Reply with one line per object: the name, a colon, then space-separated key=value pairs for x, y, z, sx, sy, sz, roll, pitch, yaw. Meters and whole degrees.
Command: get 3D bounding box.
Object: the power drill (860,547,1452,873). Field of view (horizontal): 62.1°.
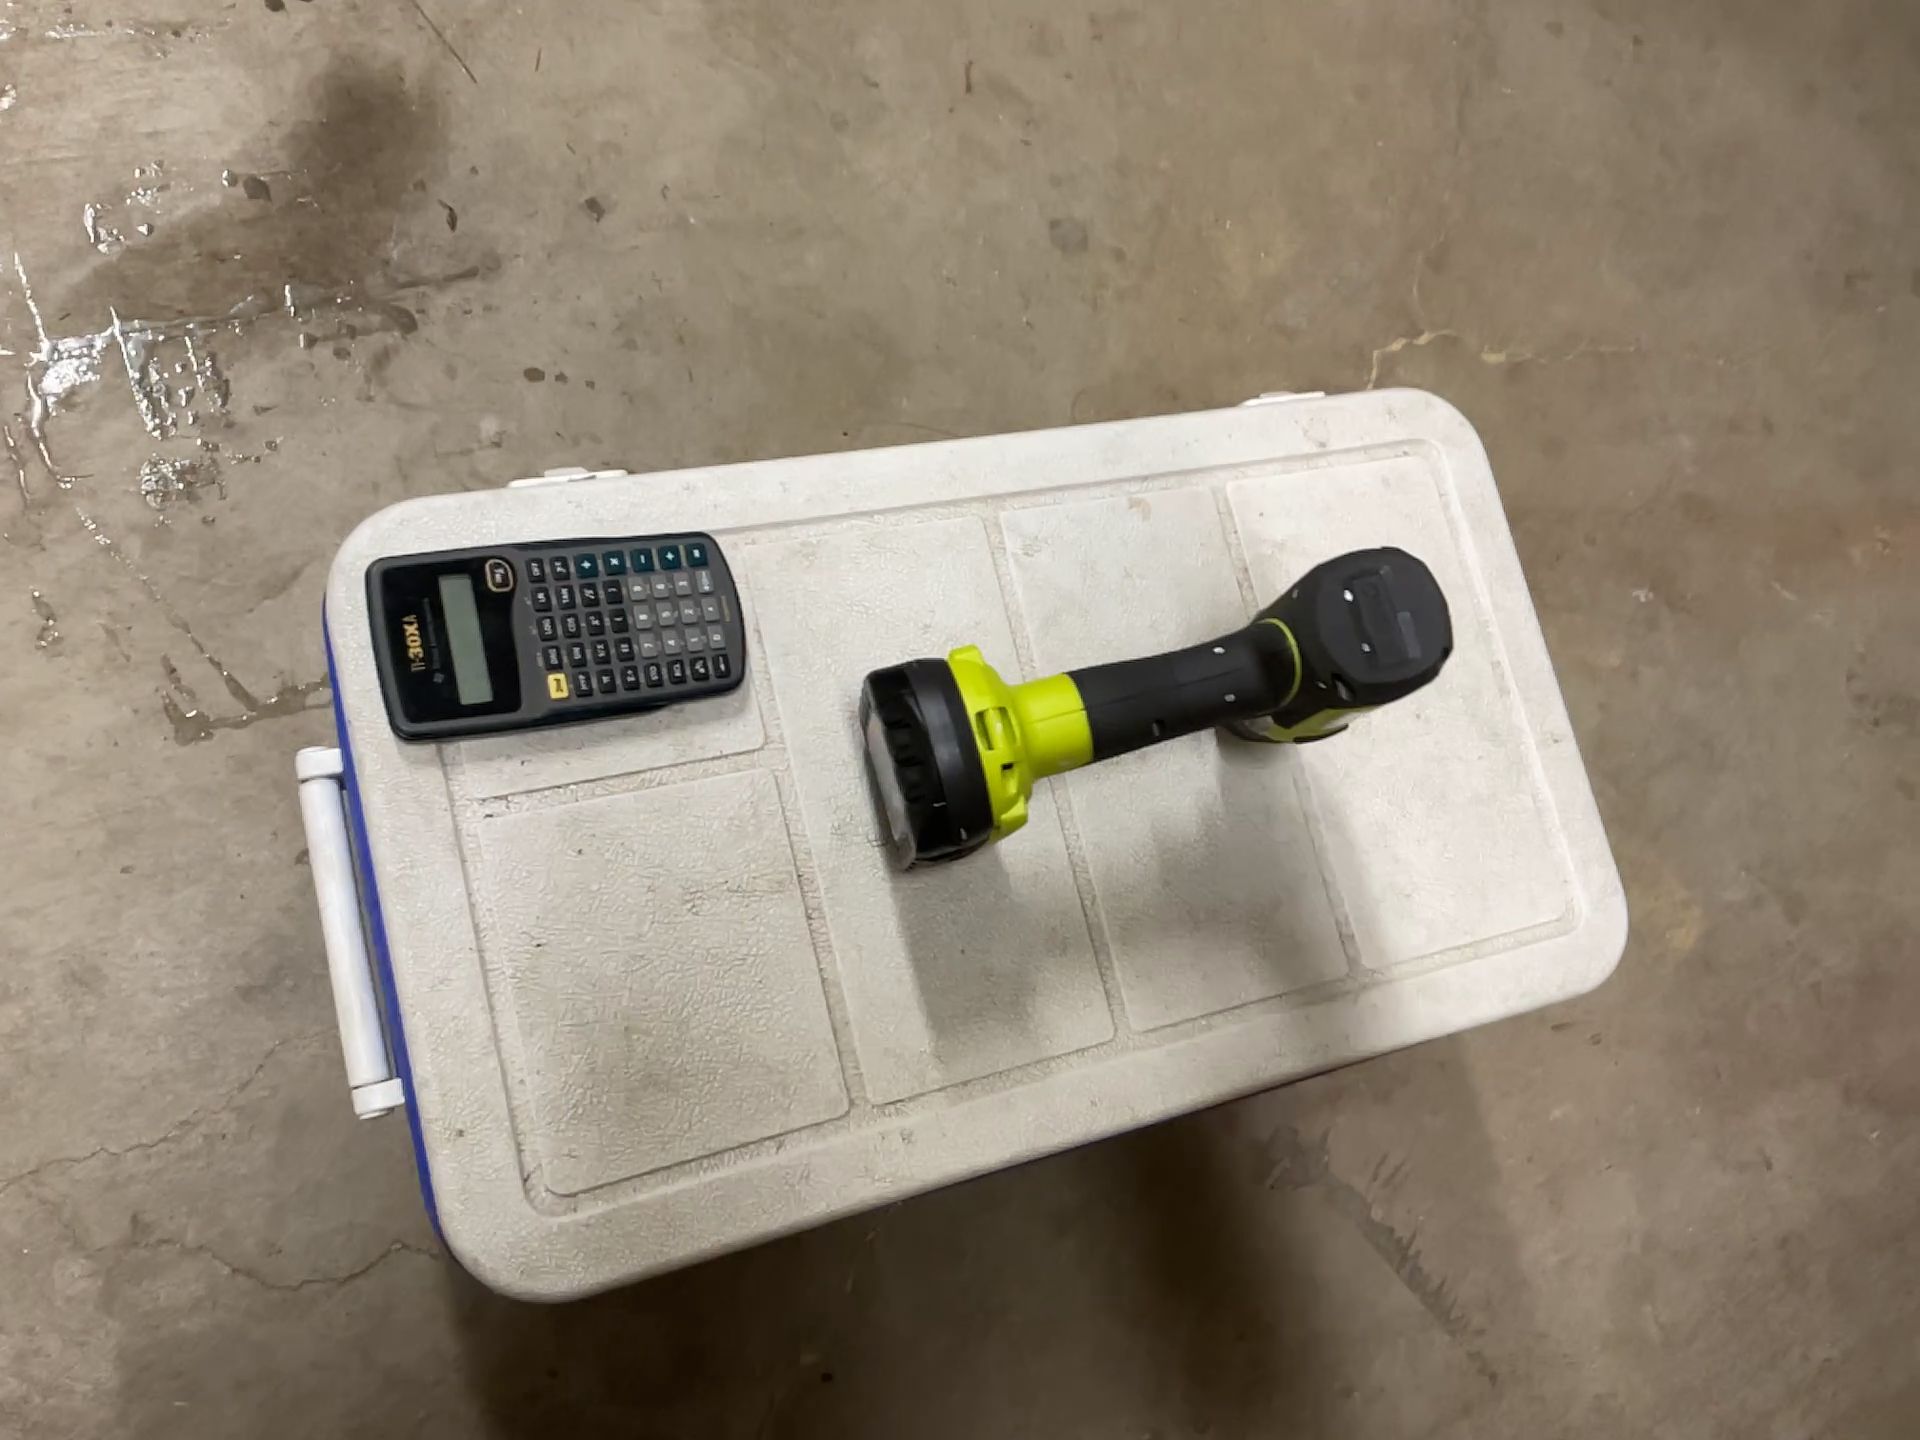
power drill: x=0.077 y=-0.002 z=0.697 sx=0.228 sy=0.190 sz=0.080 roll=-15 pitch=82 yaw=-8
